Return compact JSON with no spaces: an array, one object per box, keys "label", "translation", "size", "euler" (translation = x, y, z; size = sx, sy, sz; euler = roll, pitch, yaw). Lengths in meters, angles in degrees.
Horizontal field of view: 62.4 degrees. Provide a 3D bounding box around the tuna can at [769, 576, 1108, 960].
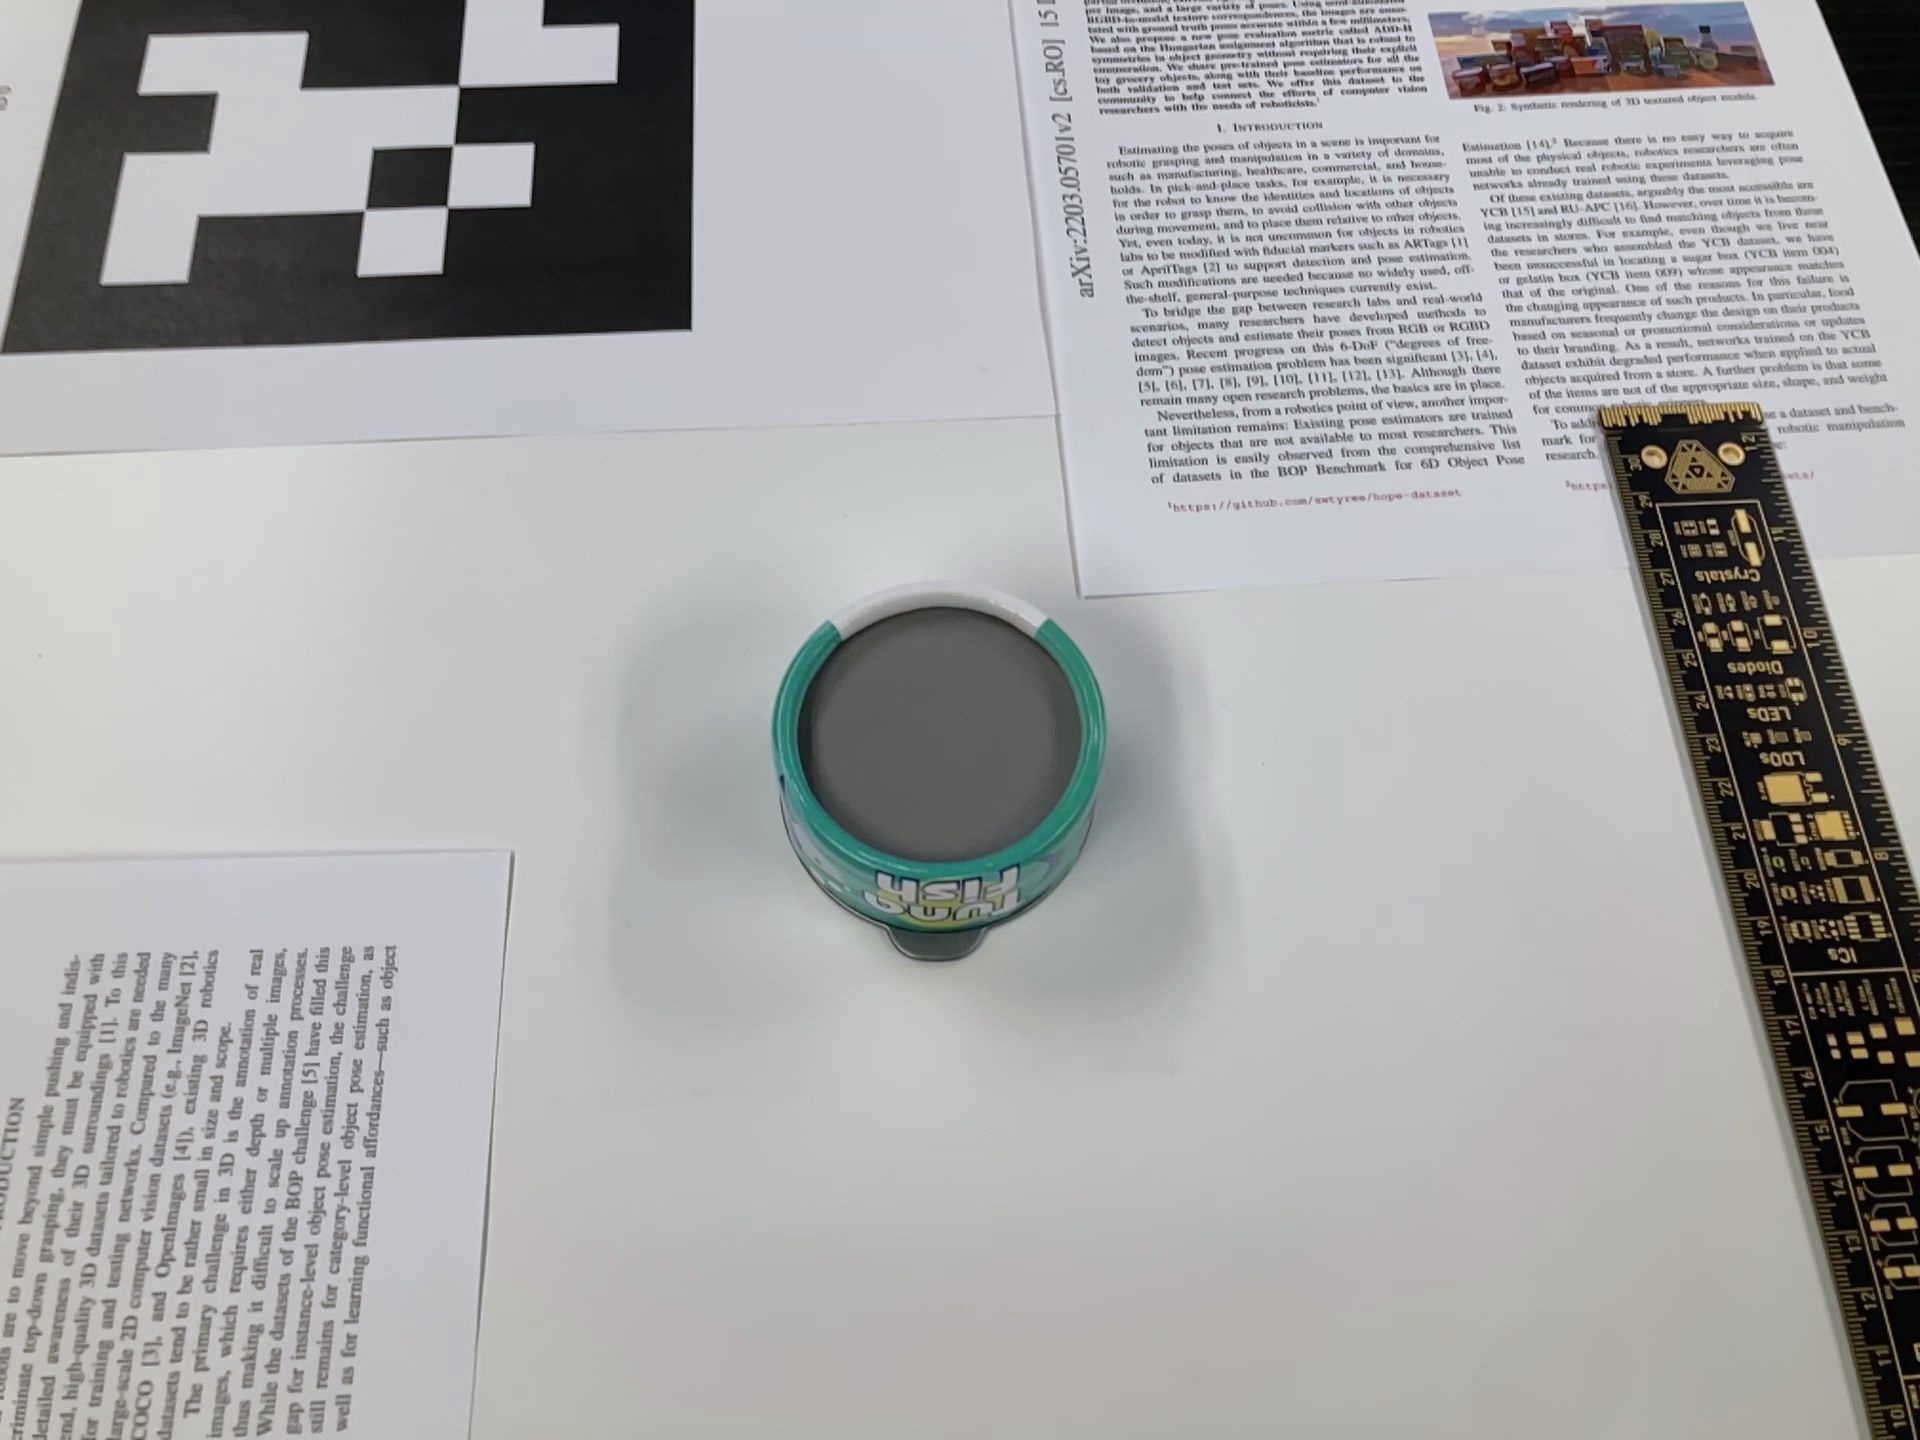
[{"label":"tuna can","translation":[-0.004,0.009,0.315],"size":[0.071,0.033,0.071],"euler":[0,66,0]}]
